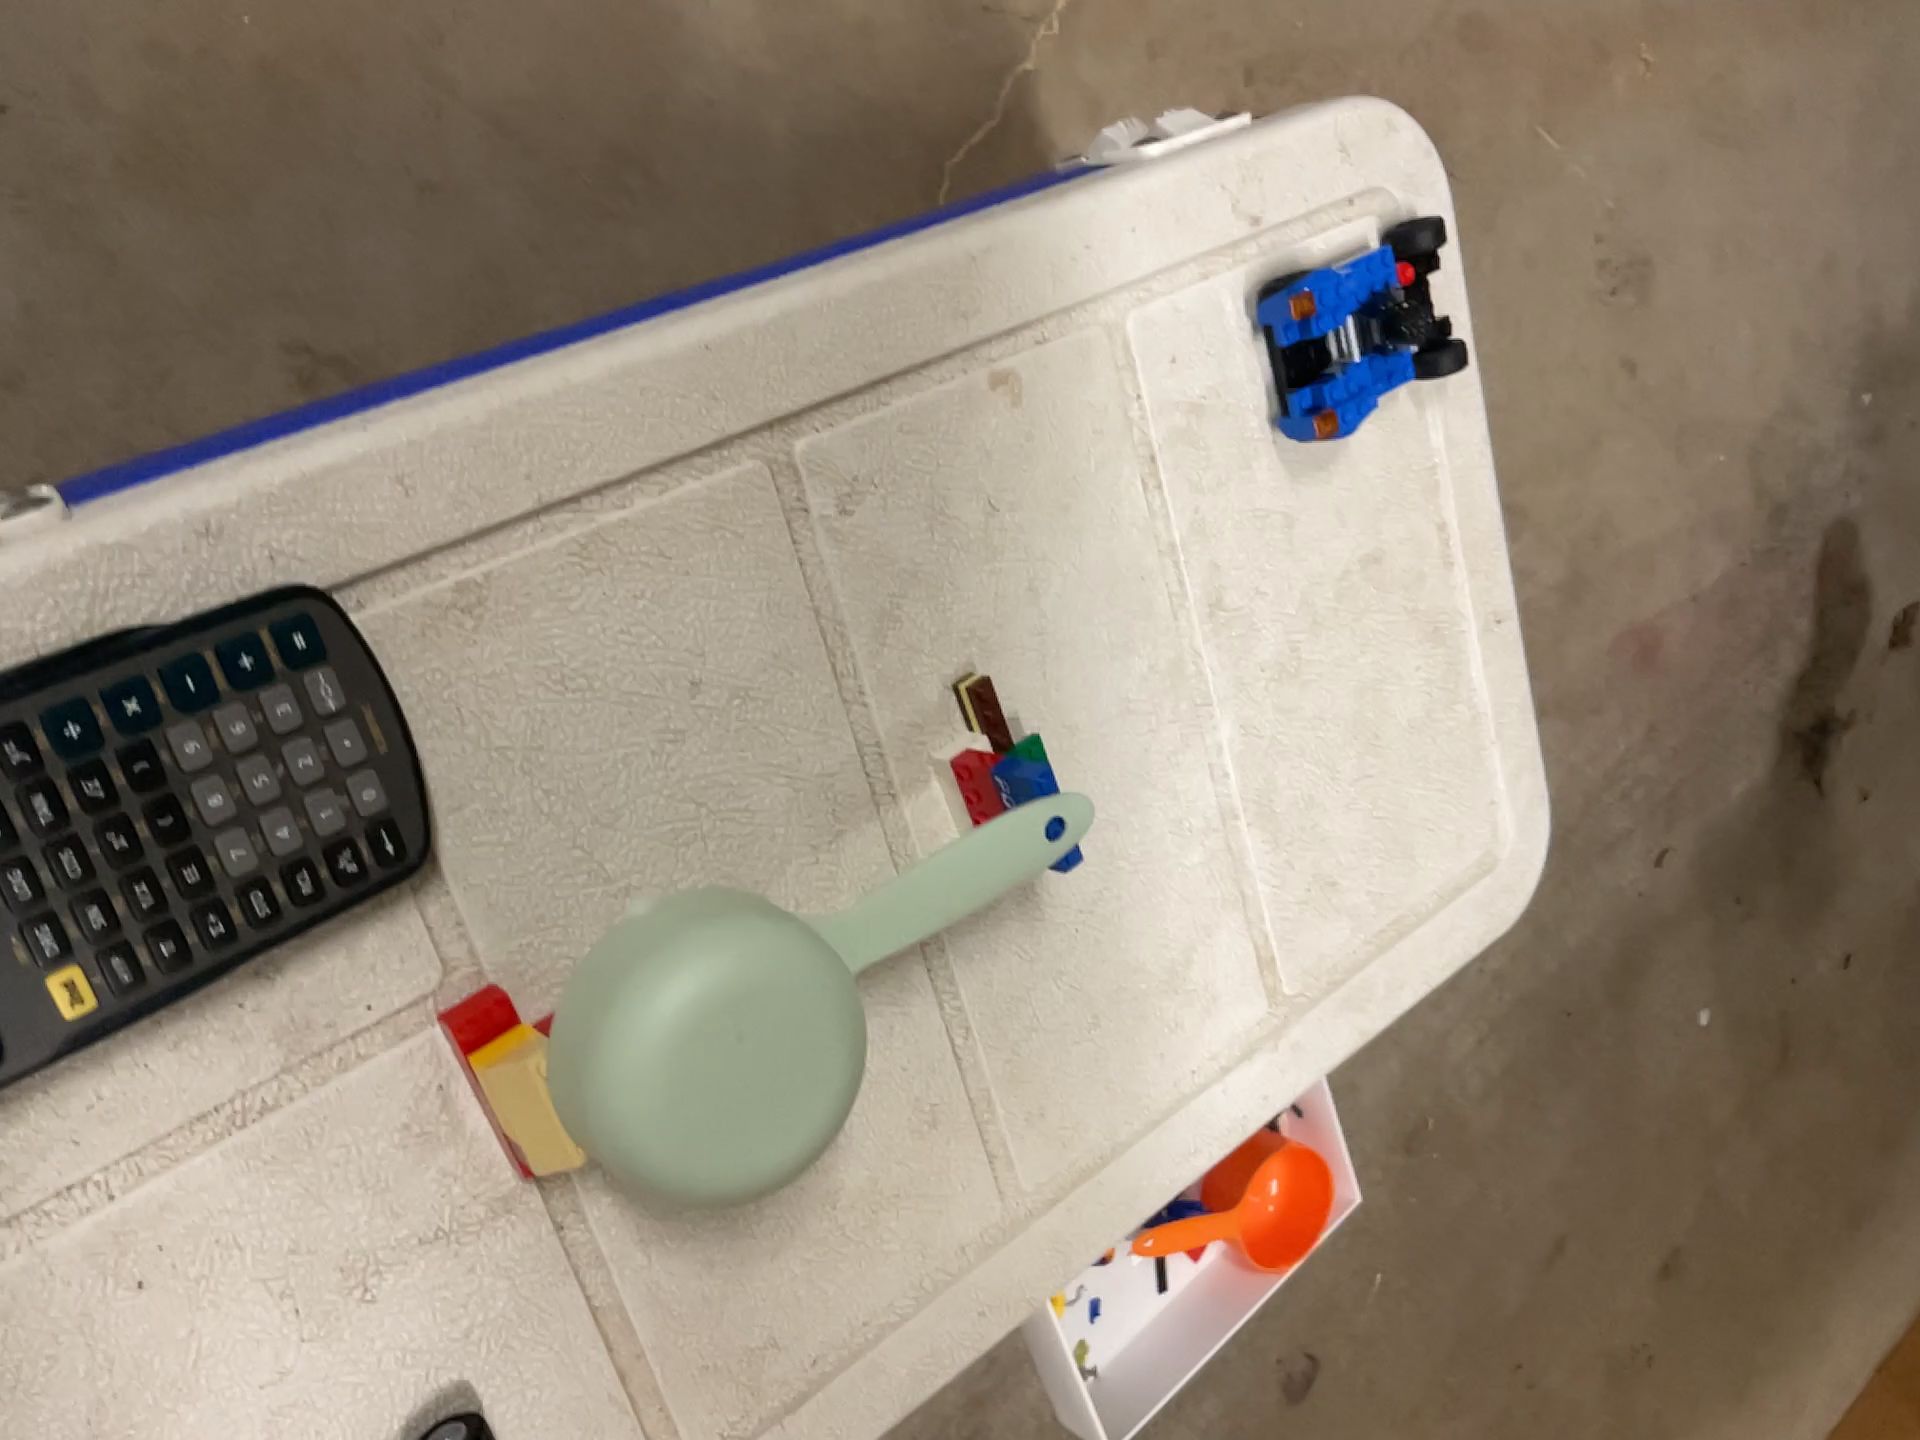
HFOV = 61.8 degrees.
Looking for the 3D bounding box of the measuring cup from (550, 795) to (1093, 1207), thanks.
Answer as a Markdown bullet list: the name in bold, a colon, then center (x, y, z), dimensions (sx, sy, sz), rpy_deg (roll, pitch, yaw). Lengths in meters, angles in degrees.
- **measuring cup**: center (-0.022, 0.063, 0.415), dimensions (0.167, 0.038, 0.083), rpy_deg (-28, 113, -24)
